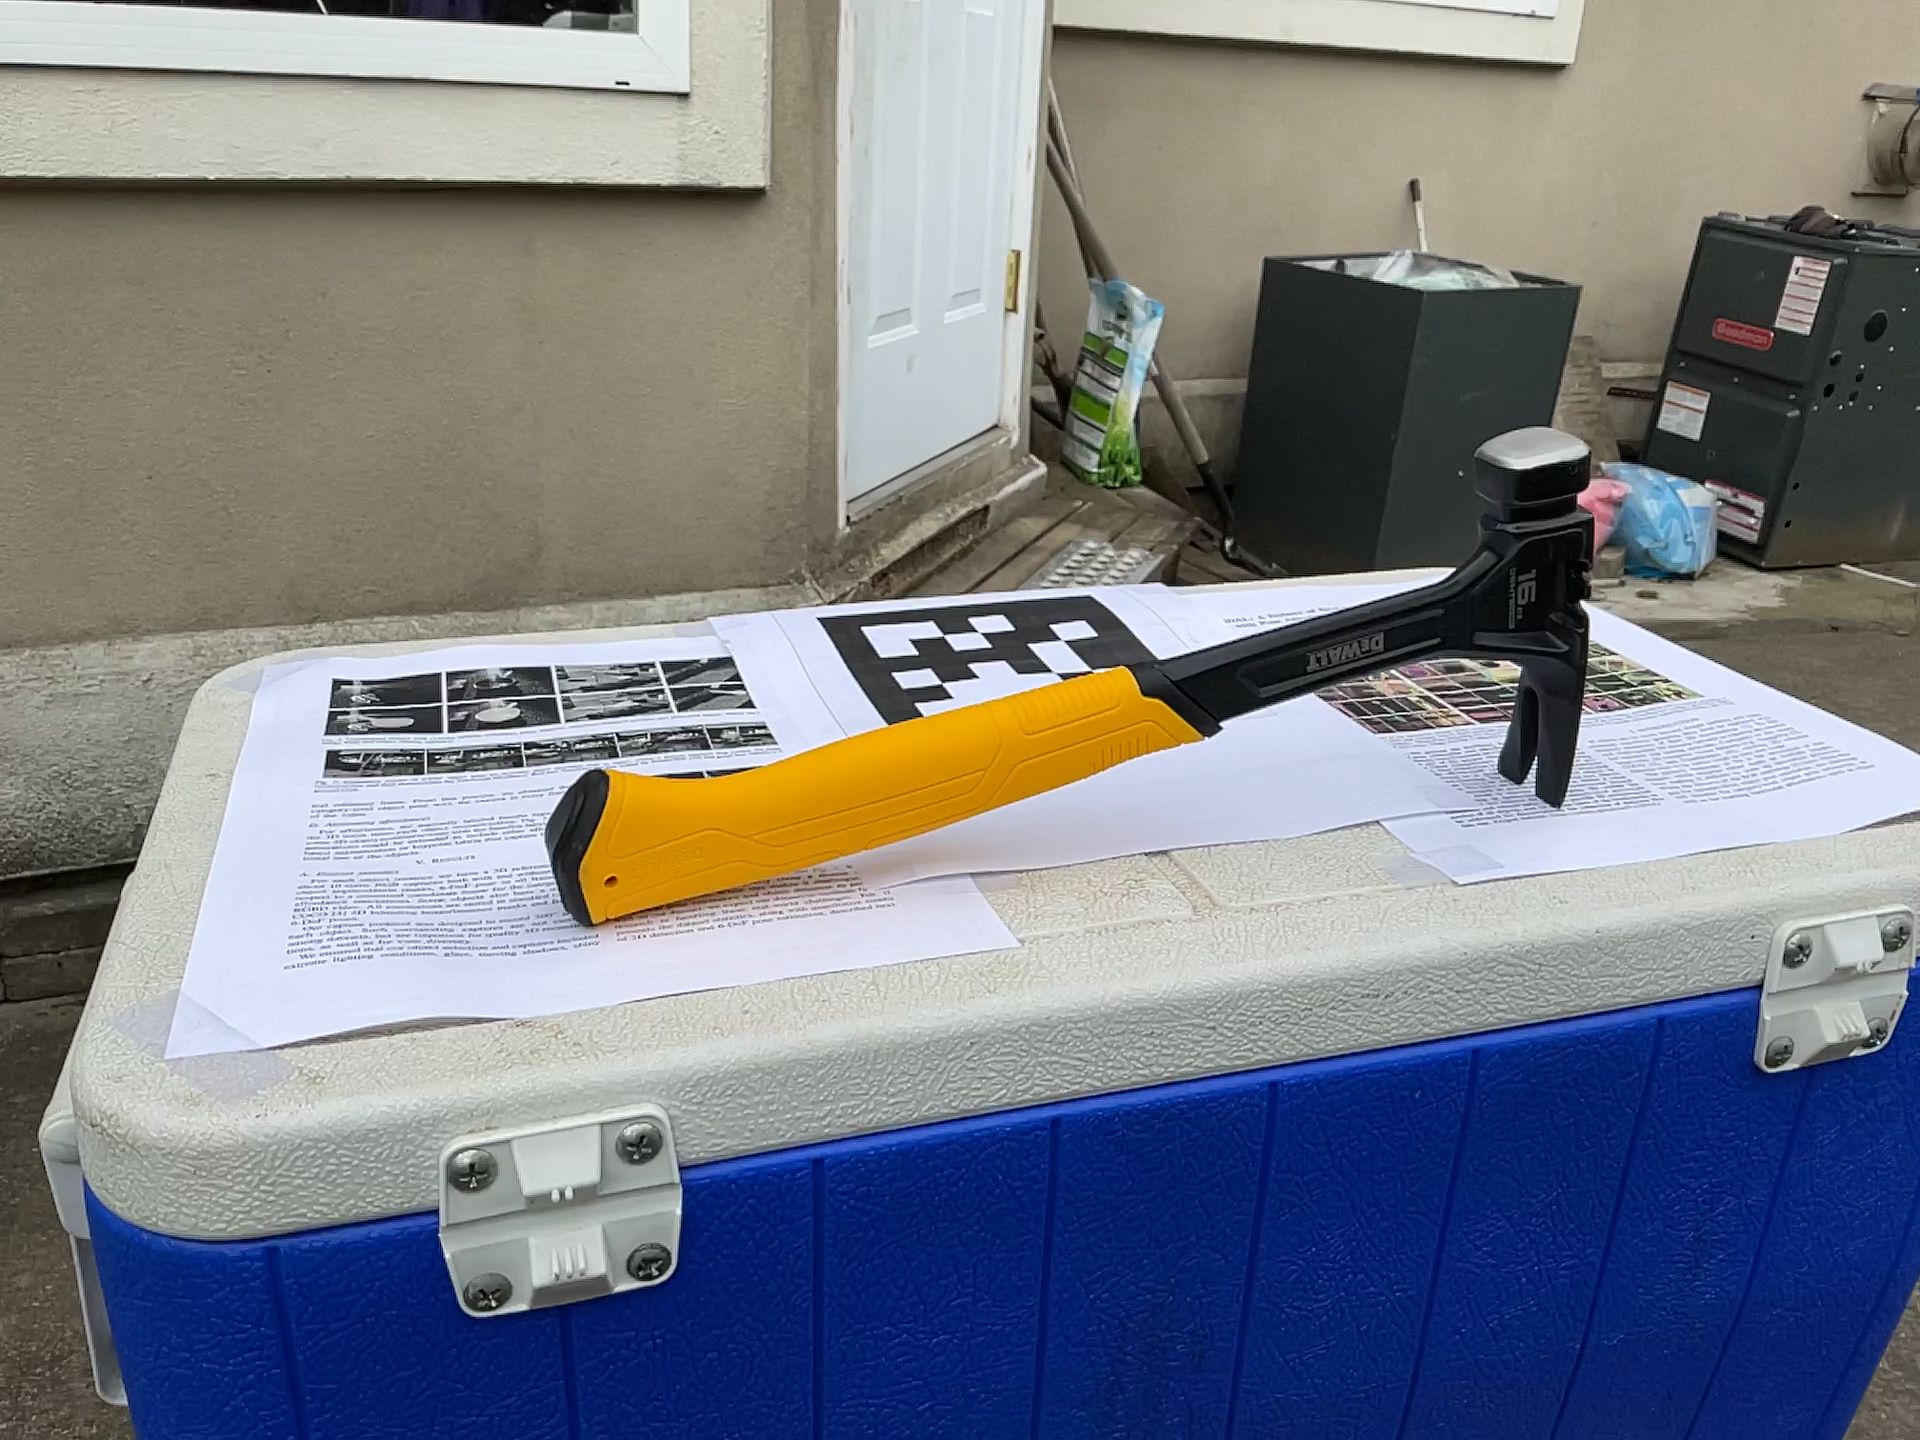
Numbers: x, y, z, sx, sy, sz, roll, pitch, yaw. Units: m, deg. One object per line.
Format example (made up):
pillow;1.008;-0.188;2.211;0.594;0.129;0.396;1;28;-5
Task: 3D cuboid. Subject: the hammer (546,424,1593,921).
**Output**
hammer;0.045;0.006;0.493;0.336;0.127;0.034;-15;26;-13
